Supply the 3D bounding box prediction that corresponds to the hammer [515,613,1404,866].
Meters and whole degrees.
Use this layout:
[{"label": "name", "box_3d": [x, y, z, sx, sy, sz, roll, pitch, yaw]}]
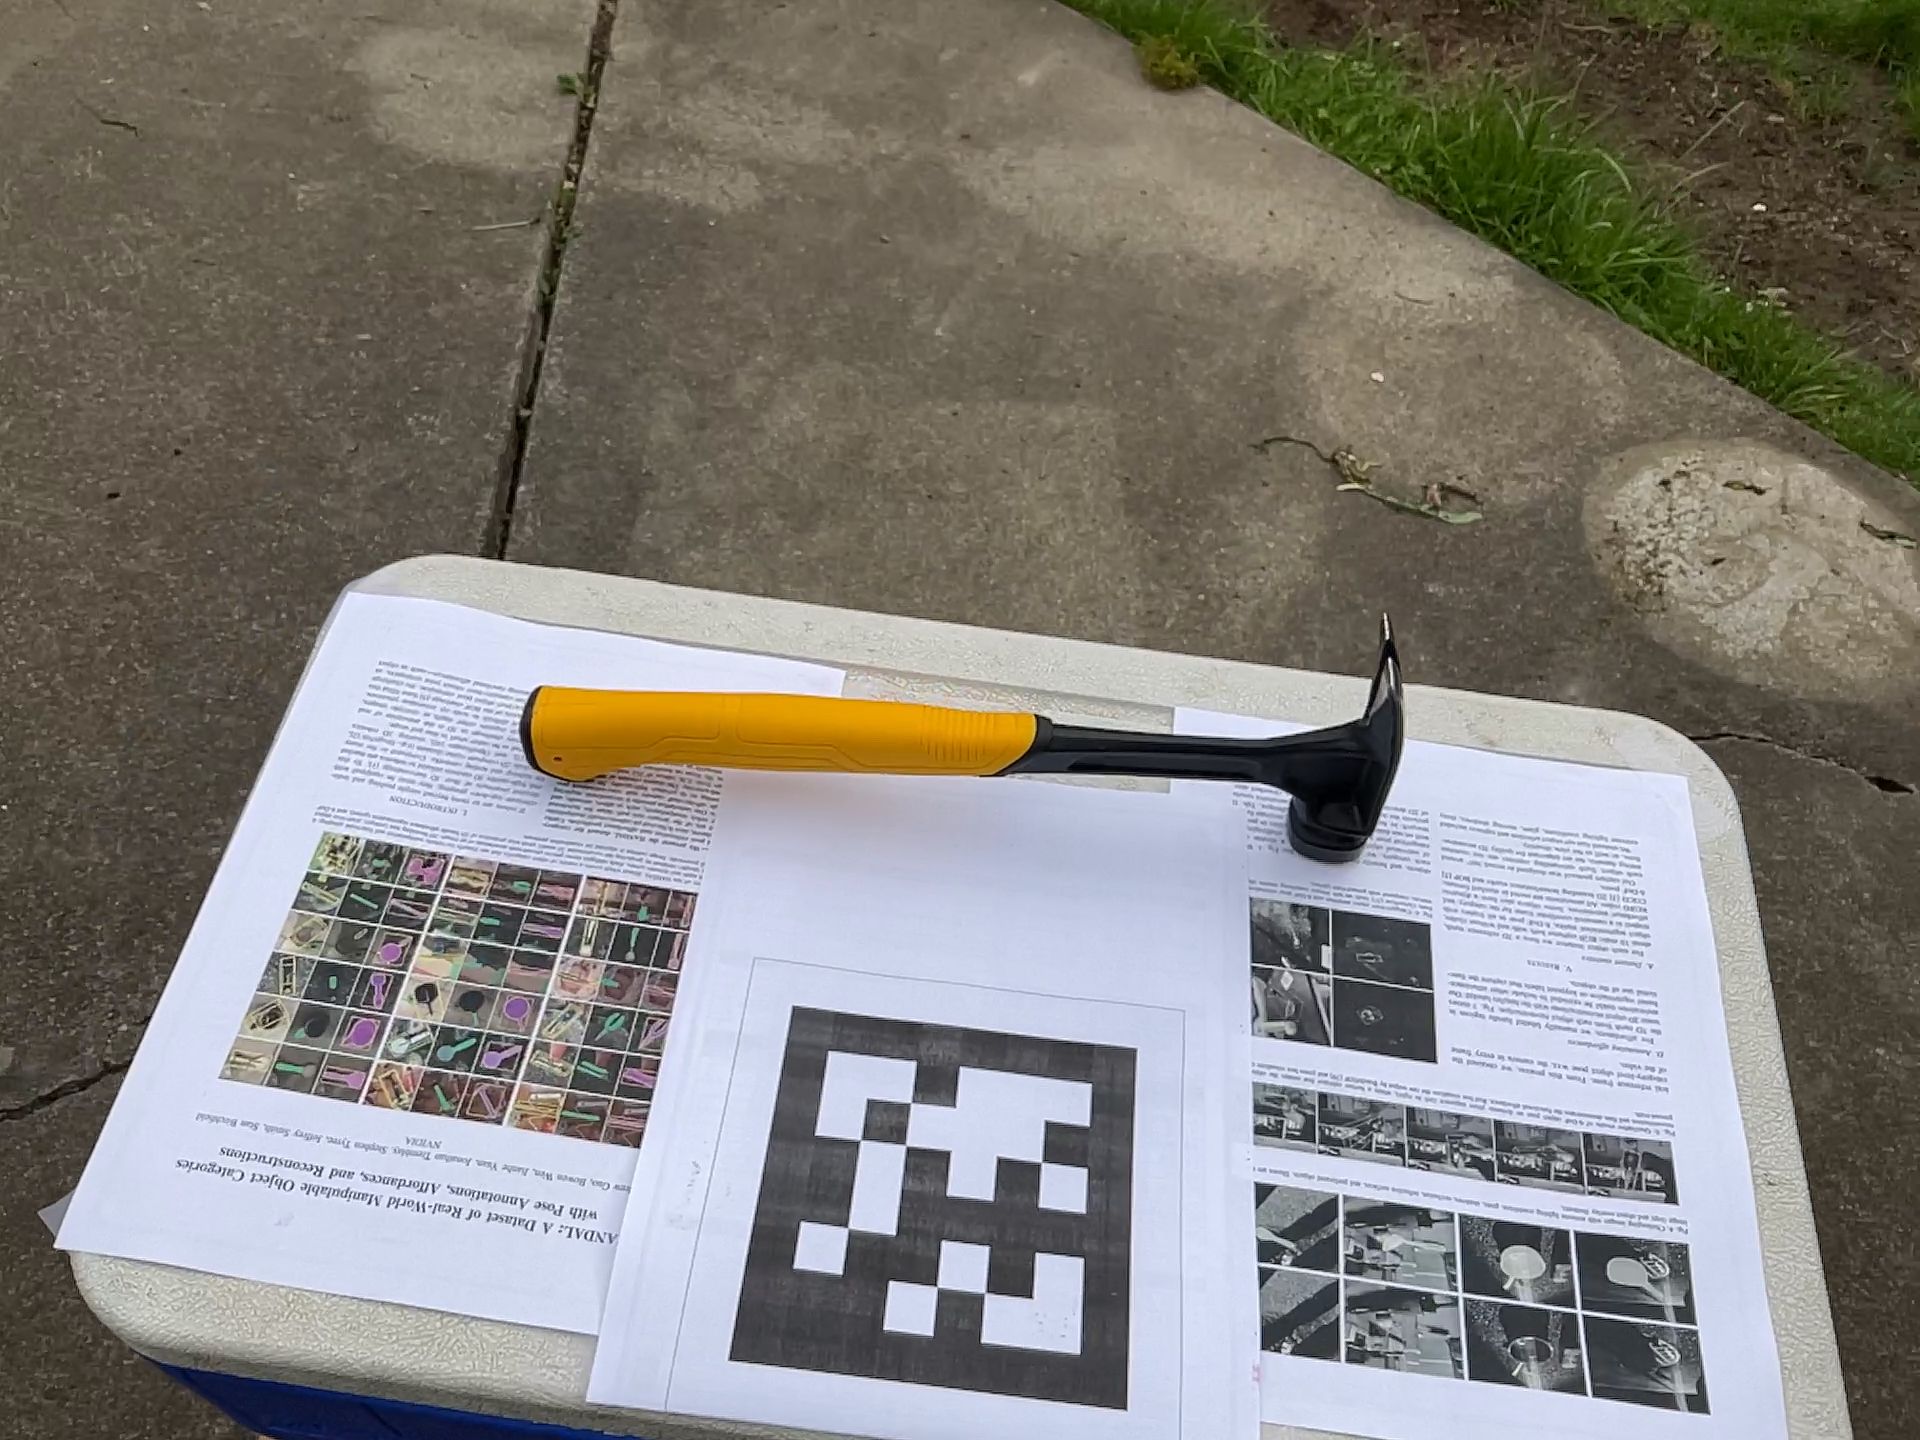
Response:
[{"label": "hammer", "box_3d": [-0.004, 0.006, 0.612, 0.337, 0.127, 0.034, 2, 55, 4]}]
